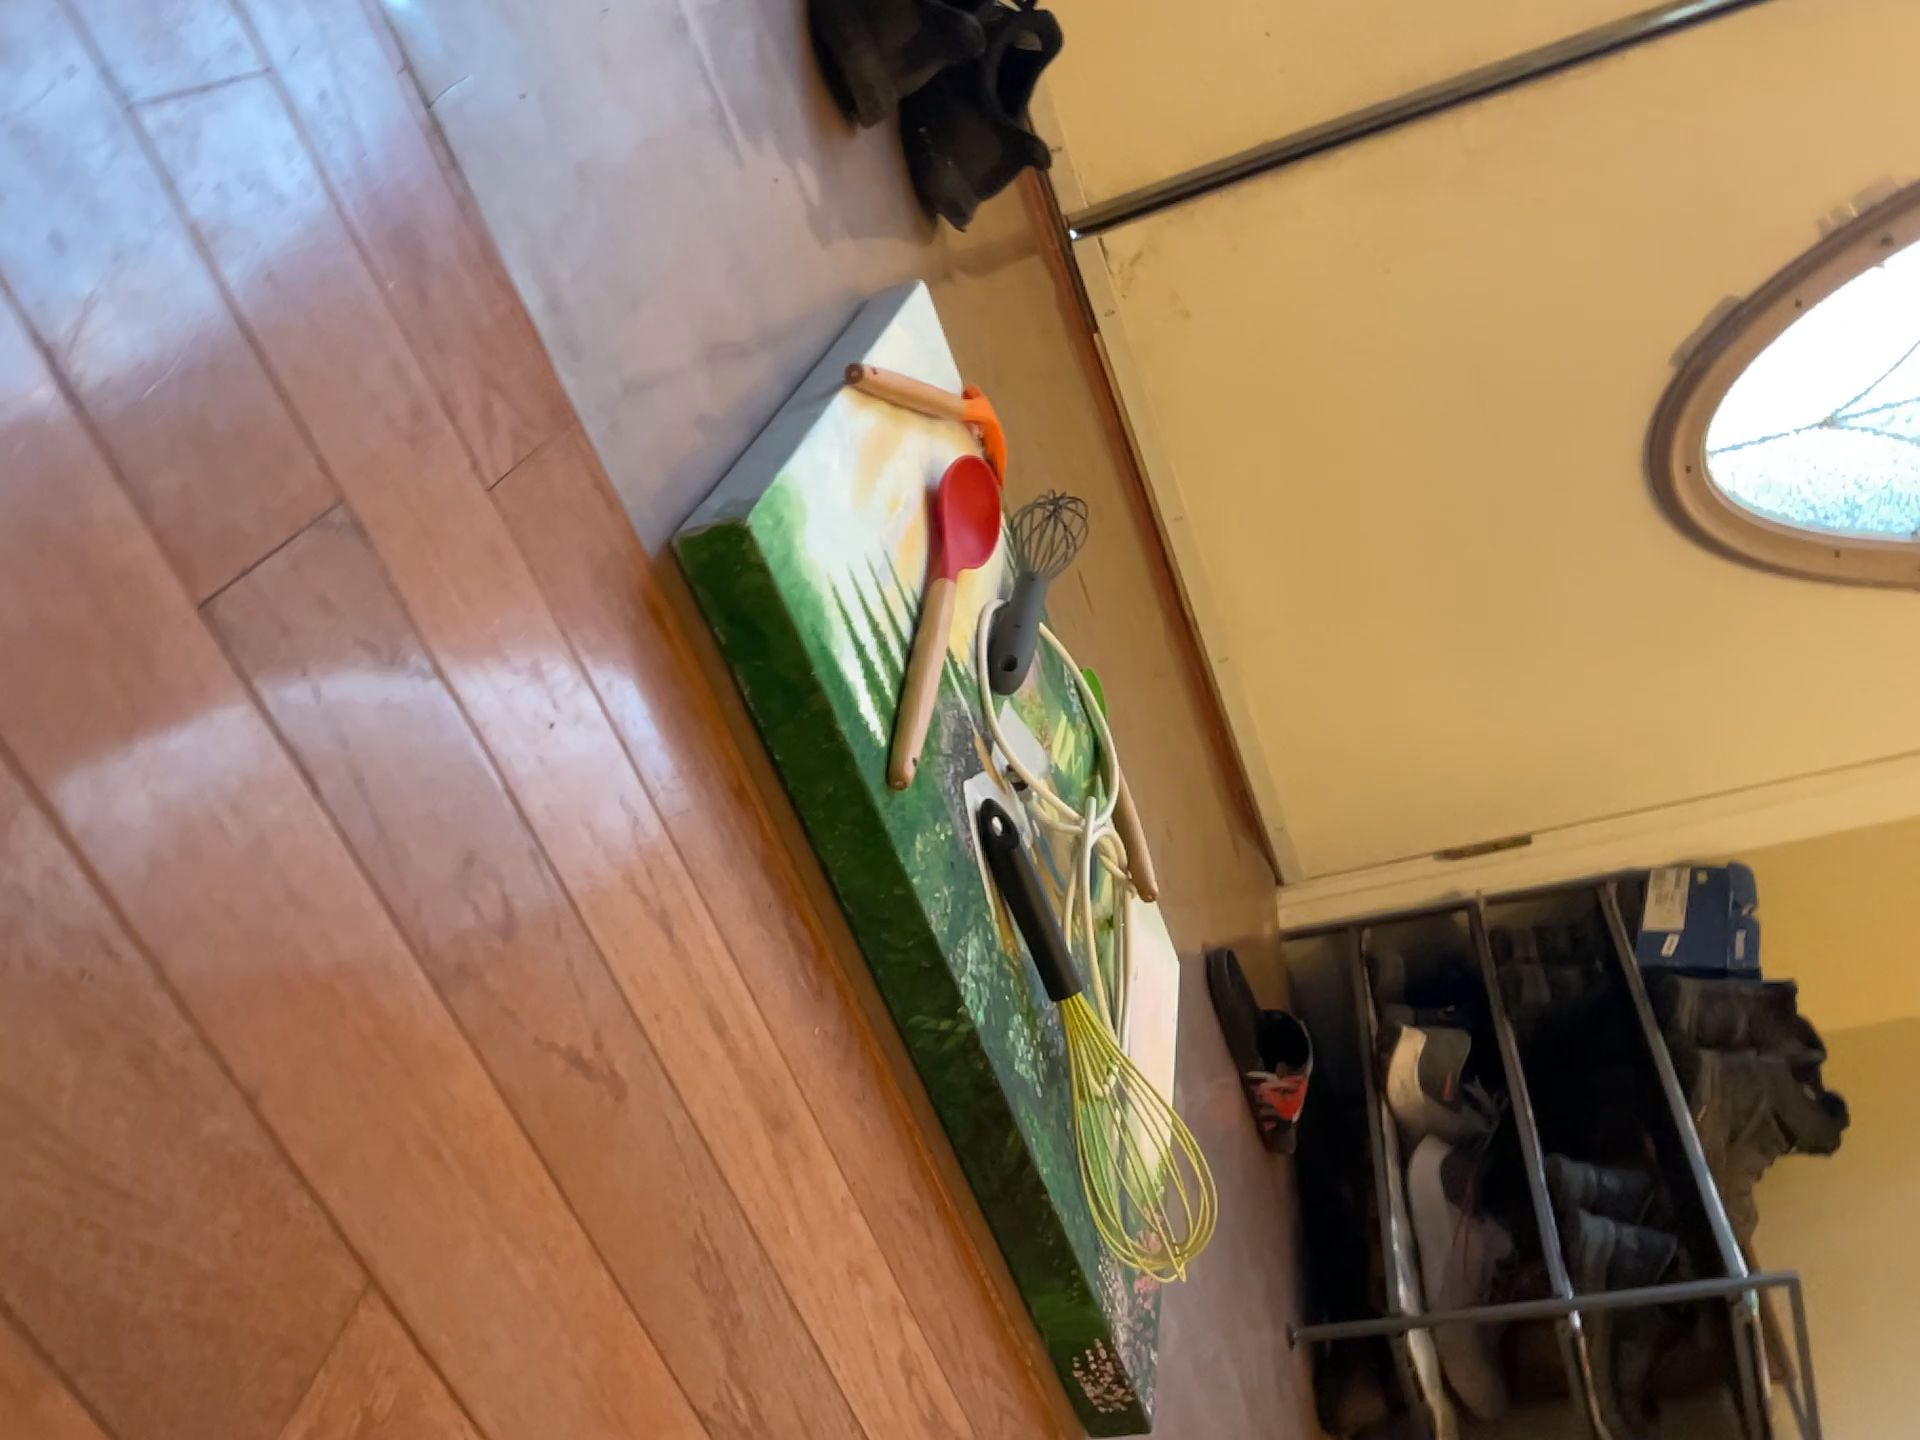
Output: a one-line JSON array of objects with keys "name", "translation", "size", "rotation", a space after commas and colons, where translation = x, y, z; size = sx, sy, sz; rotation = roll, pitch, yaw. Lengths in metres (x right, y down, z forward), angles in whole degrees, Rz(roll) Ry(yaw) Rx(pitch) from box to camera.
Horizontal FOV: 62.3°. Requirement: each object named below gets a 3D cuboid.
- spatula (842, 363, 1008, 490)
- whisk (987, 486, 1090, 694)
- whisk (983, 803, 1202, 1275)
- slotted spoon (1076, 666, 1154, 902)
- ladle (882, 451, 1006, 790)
[{"name": "spatula", "translation": [-0.017, -0.203, 1.046], "size": [0.081, 0.041, 0.322], "rotation": [65, 19, 4]}, {"name": "whisk", "translation": [0.052, -0.094, 1.114], "size": [0.055, 0.055, 0.239], "rotation": [54, 32, -27]}, {"name": "whisk", "translation": [0.073, 0.194, 0.952], "size": [0.080, 0.067, 0.311], "rotation": [-45, 114, -76]}, {"name": "slotted spoon", "translation": [0.117, 0.046, 1.215], "size": [0.314, 0.031, 0.070], "rotation": [-96, 166, -62]}, {"name": "ladle", "translation": [-0.011, -0.063, 0.925], "size": [0.316, 0.031, 0.069], "rotation": [-76, 147, -51]}]
